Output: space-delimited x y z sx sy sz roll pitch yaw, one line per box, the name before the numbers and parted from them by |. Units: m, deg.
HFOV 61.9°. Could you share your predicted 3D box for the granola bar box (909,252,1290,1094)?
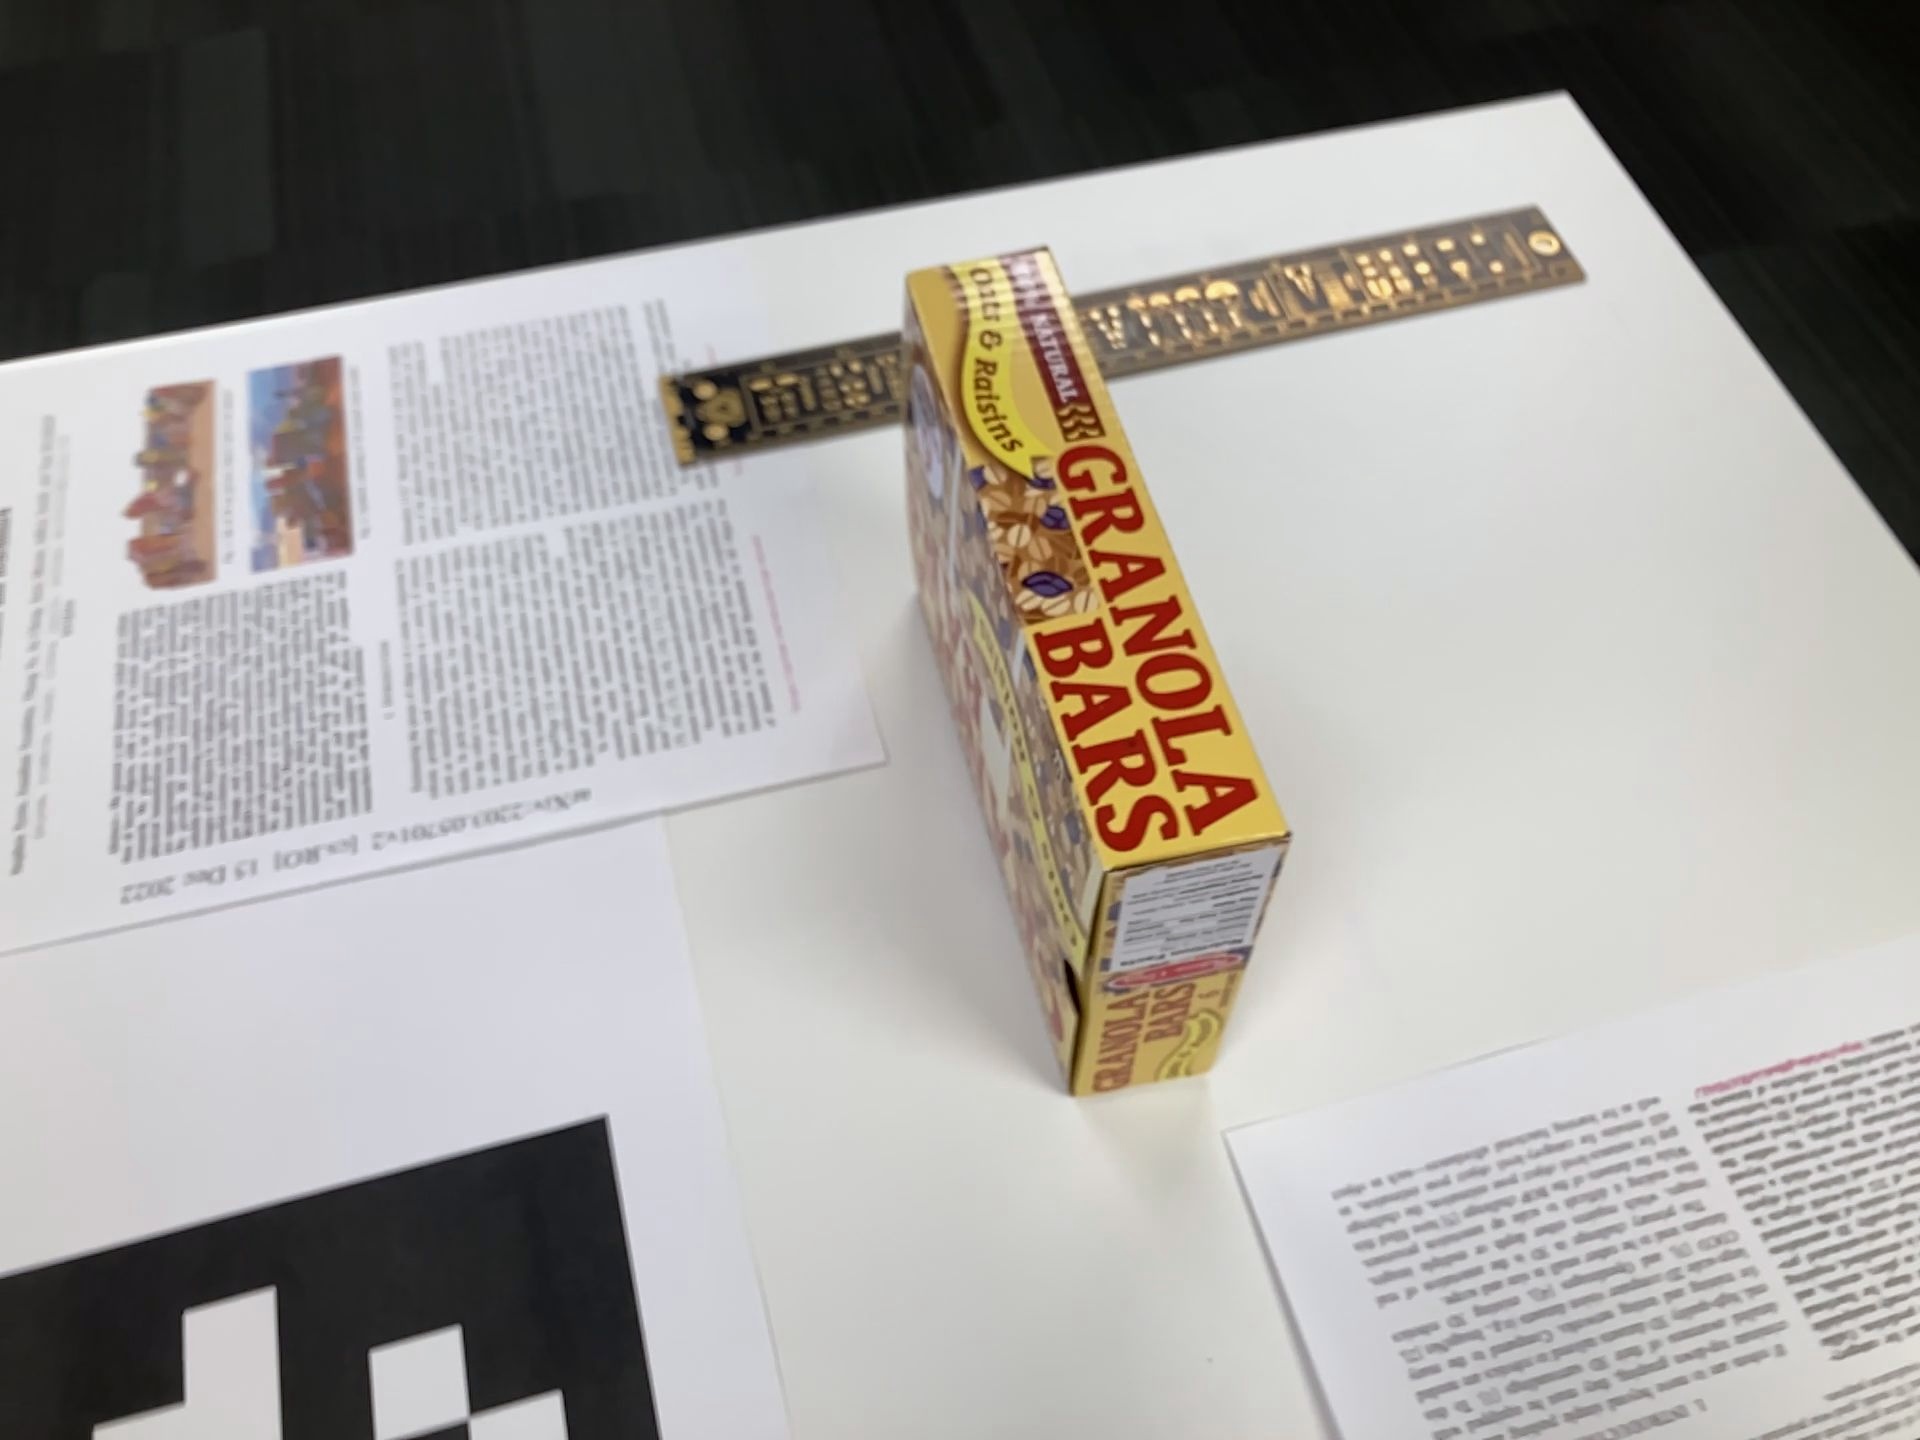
granola bar box | 0.024 -0.009 0.391 0.039 0.124 0.165 -12 58 -7
